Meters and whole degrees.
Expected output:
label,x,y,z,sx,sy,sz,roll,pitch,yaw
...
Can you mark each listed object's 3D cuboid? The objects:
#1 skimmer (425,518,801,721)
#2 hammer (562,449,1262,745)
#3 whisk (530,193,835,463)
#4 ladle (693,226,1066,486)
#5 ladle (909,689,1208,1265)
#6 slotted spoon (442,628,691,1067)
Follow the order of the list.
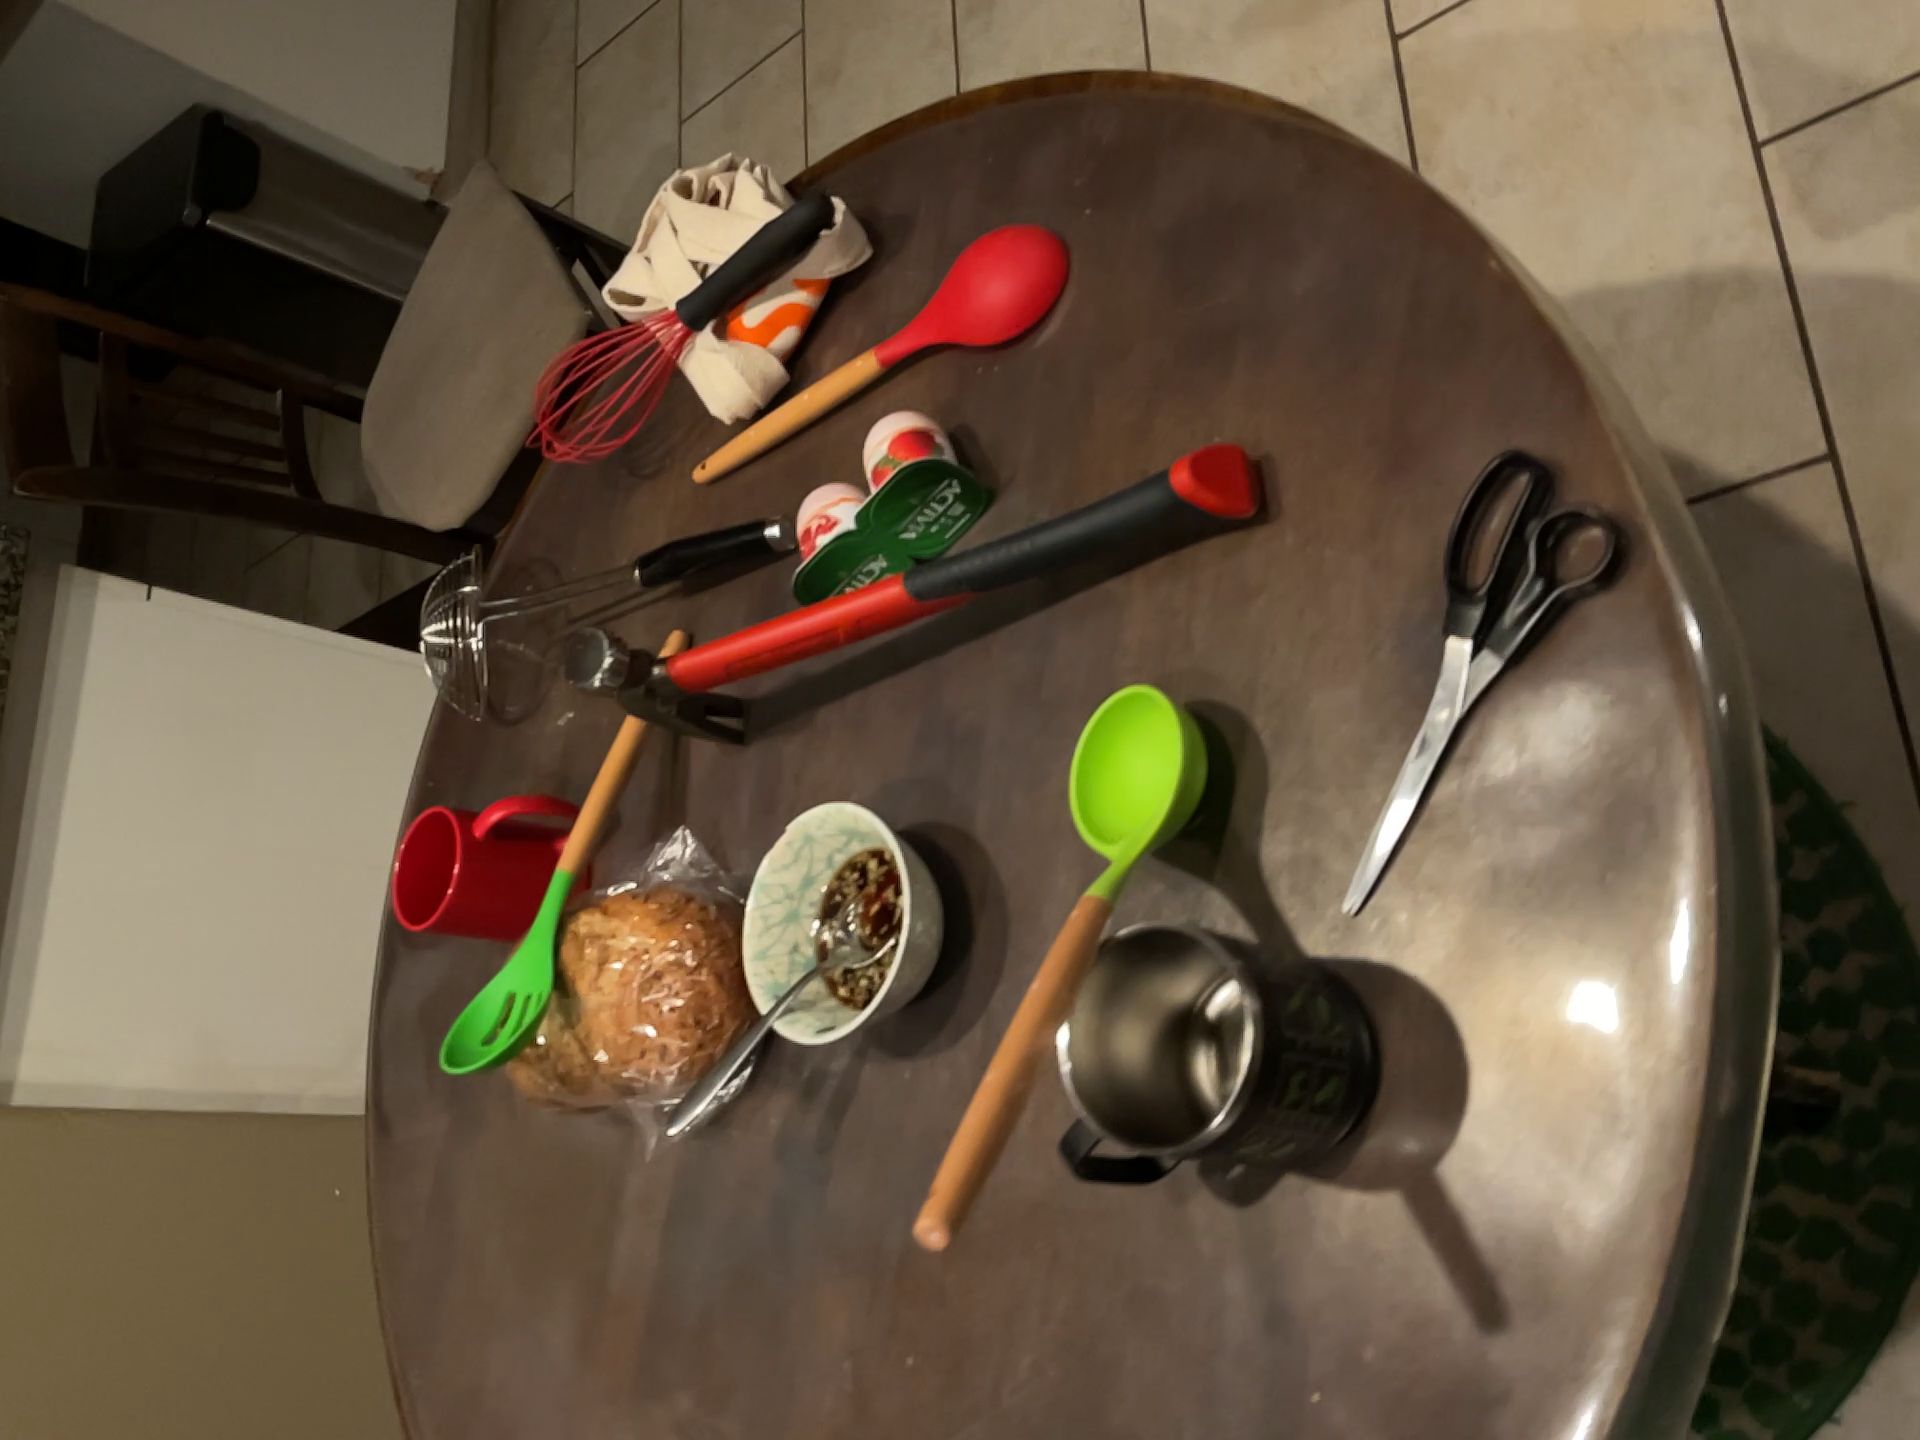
label,x,y,z,sx,sy,sz,roll,pitch,yaw
skimmer,-0.242,-0.084,1.092,0.363,0.090,0.127,-10,78,30
hammer,-0.020,-0.059,0.843,0.386,0.143,0.038,-16,68,27
whisk,-0.185,-0.250,1.021,0.296,0.073,0.073,-28,58,34
ladle,-0.064,-0.210,0.963,0.315,0.031,0.069,-23,62,40
ladle,0.037,0.084,0.624,0.062,0.320,0.078,39,126,-2
slotted spoon,-0.226,0.070,0.960,0.070,0.031,0.314,-8,50,38
